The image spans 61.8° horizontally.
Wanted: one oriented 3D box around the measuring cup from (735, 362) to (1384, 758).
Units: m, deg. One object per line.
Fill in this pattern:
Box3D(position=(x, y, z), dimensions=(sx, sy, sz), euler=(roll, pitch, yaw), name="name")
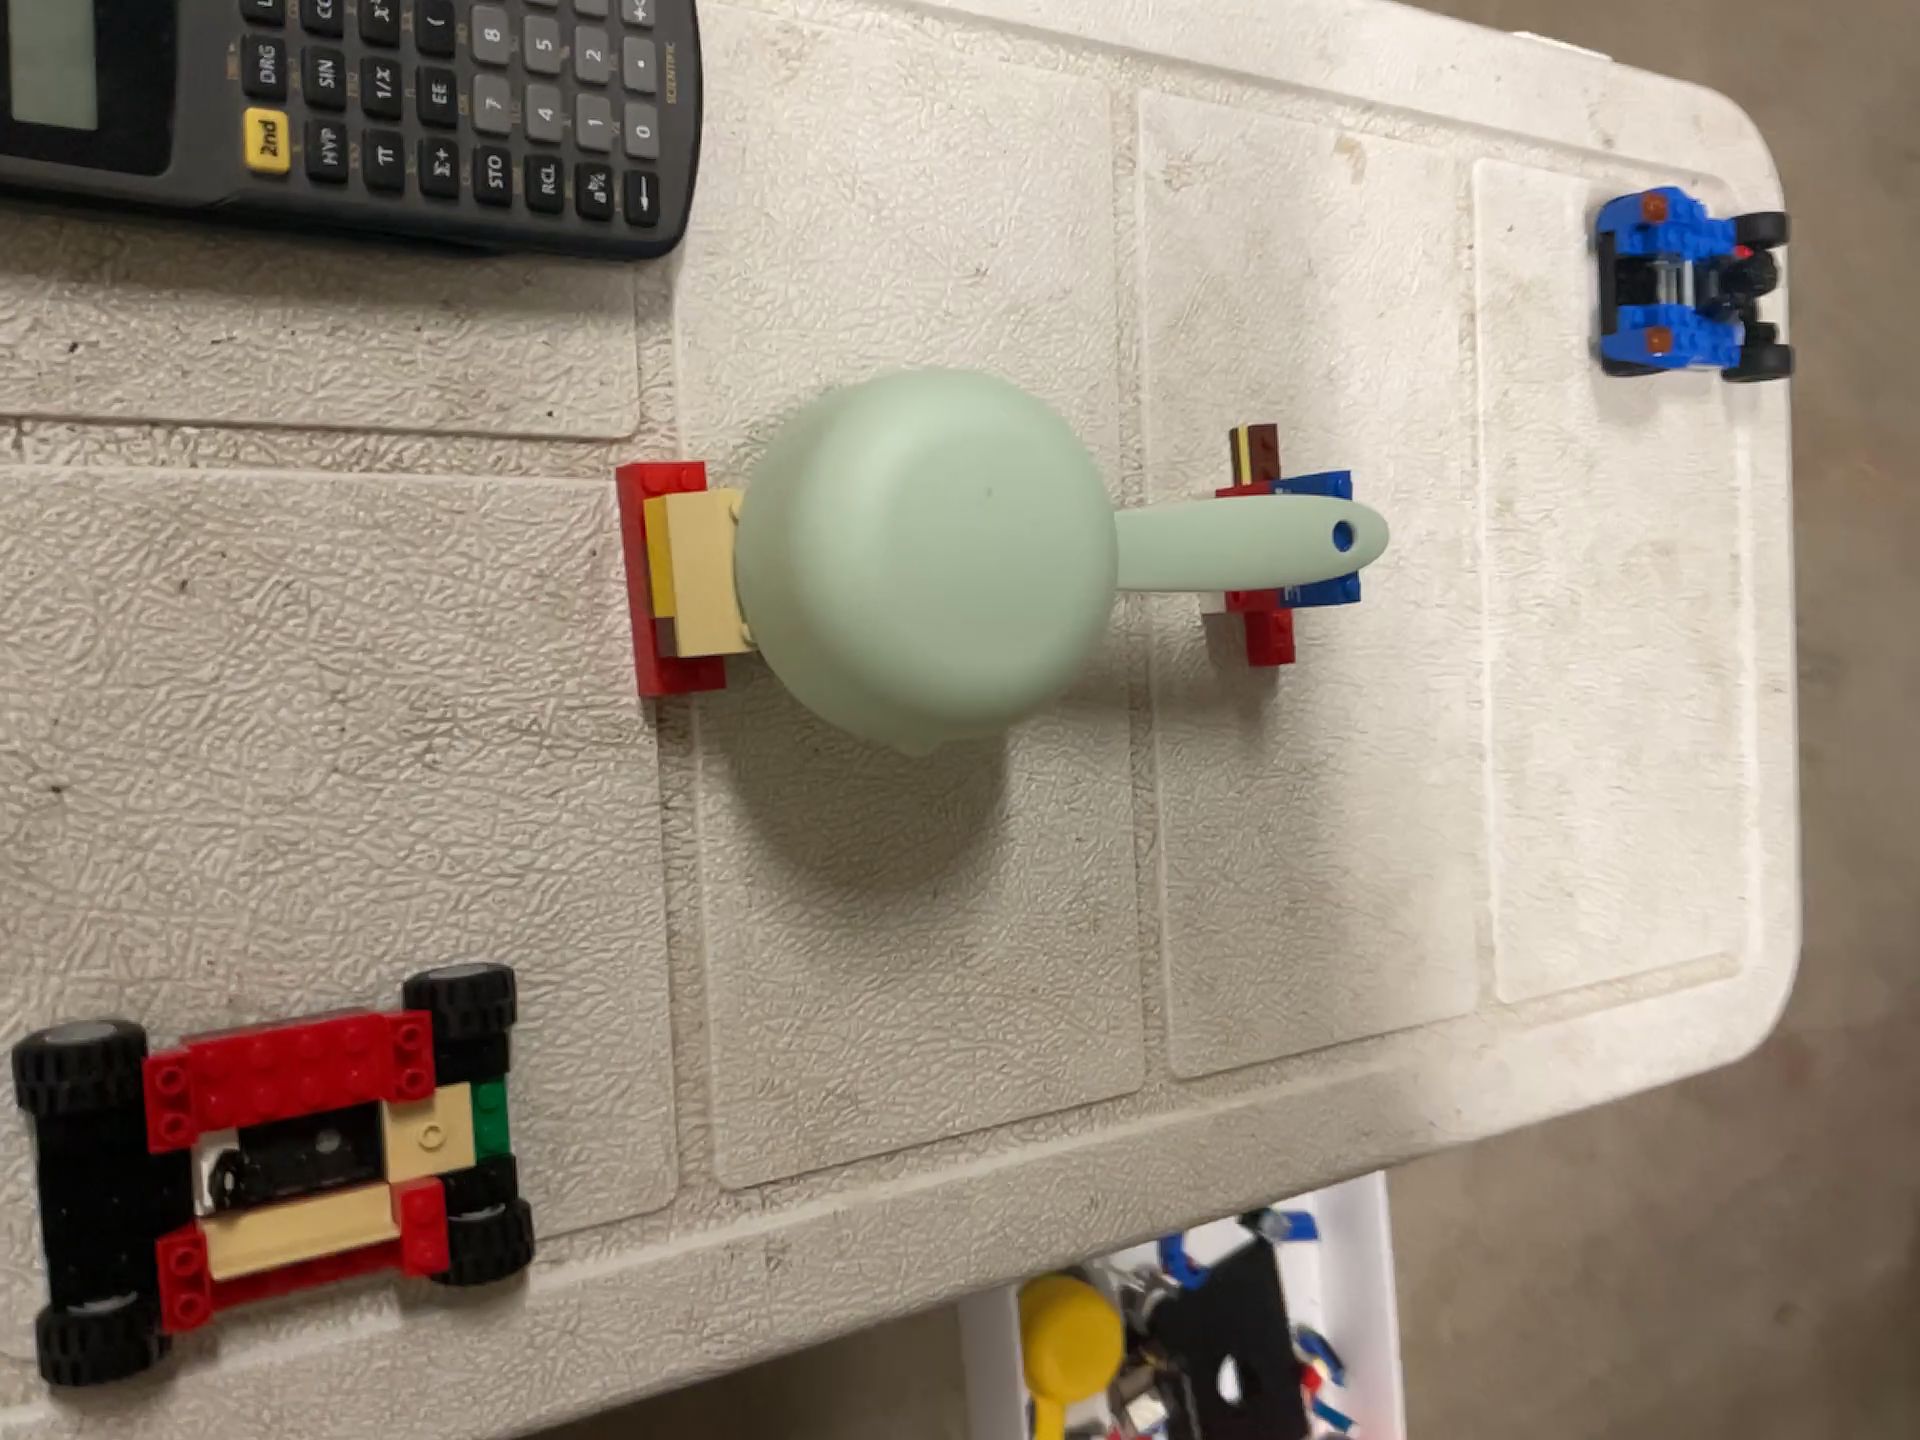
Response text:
Box3D(position=(0.037, -0.037, 0.343), dimensions=(0.168, 0.038, 0.083), euler=(-6, 94, -27), name="measuring cup")
